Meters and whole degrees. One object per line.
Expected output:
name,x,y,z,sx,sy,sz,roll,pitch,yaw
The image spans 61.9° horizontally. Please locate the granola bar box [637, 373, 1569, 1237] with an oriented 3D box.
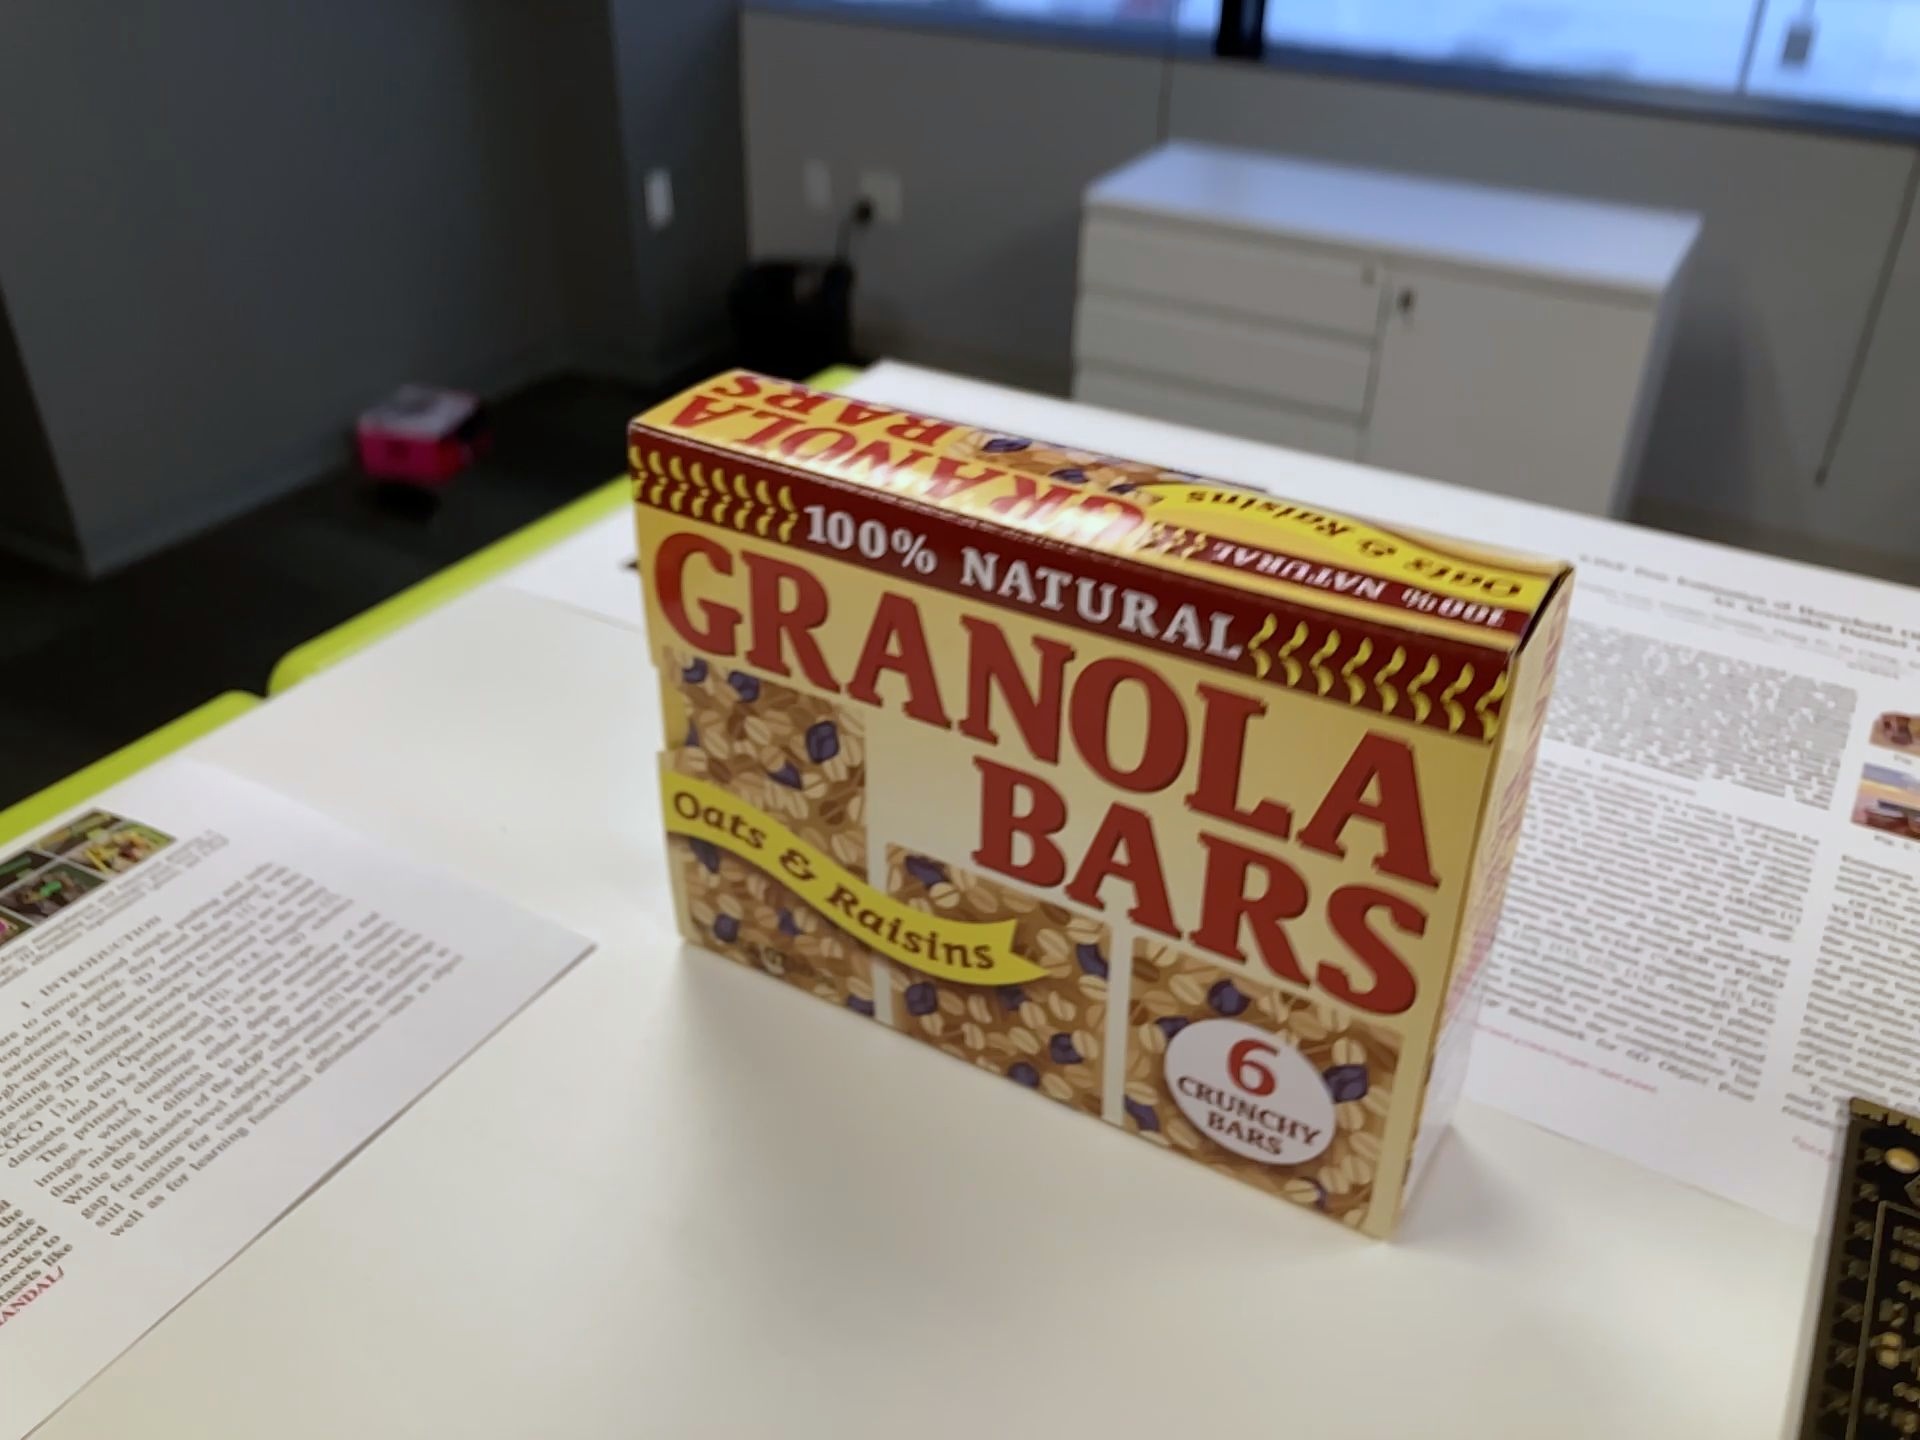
granola bar box,0.016,0.012,0.307,0.165,0.124,0.039,18,35,25
